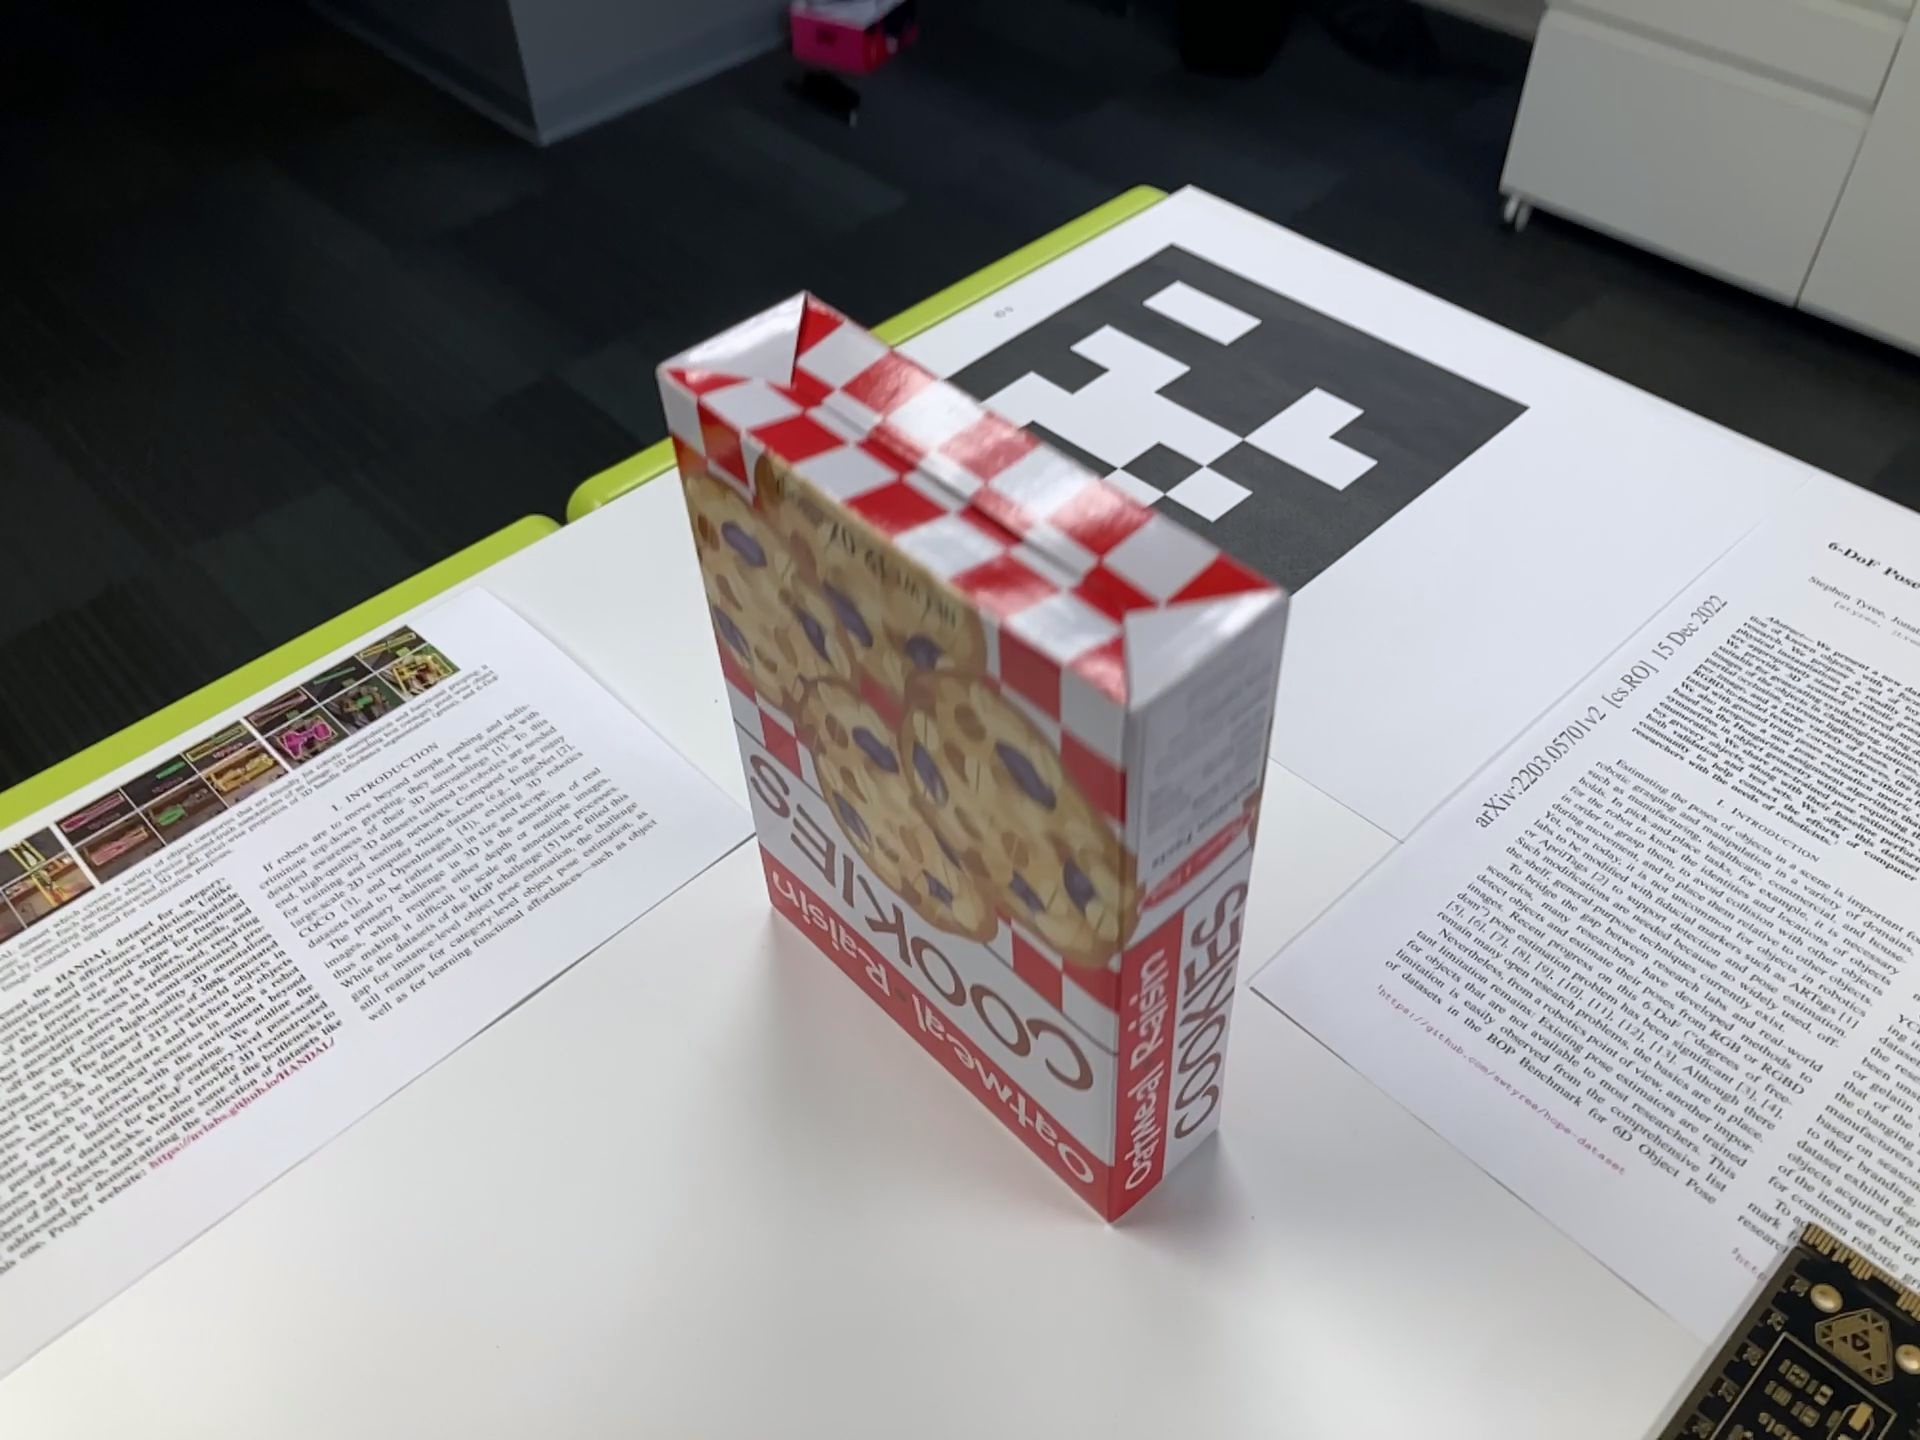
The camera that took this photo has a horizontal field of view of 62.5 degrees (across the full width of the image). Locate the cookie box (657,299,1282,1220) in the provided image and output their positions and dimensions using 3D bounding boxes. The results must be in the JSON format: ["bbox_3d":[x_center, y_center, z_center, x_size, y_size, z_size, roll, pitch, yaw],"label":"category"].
[{"bbox_3d":[0.002,0.014,0.331,0.040,0.167,0.123,-35,54,-26],"label":"cookie box"}]
